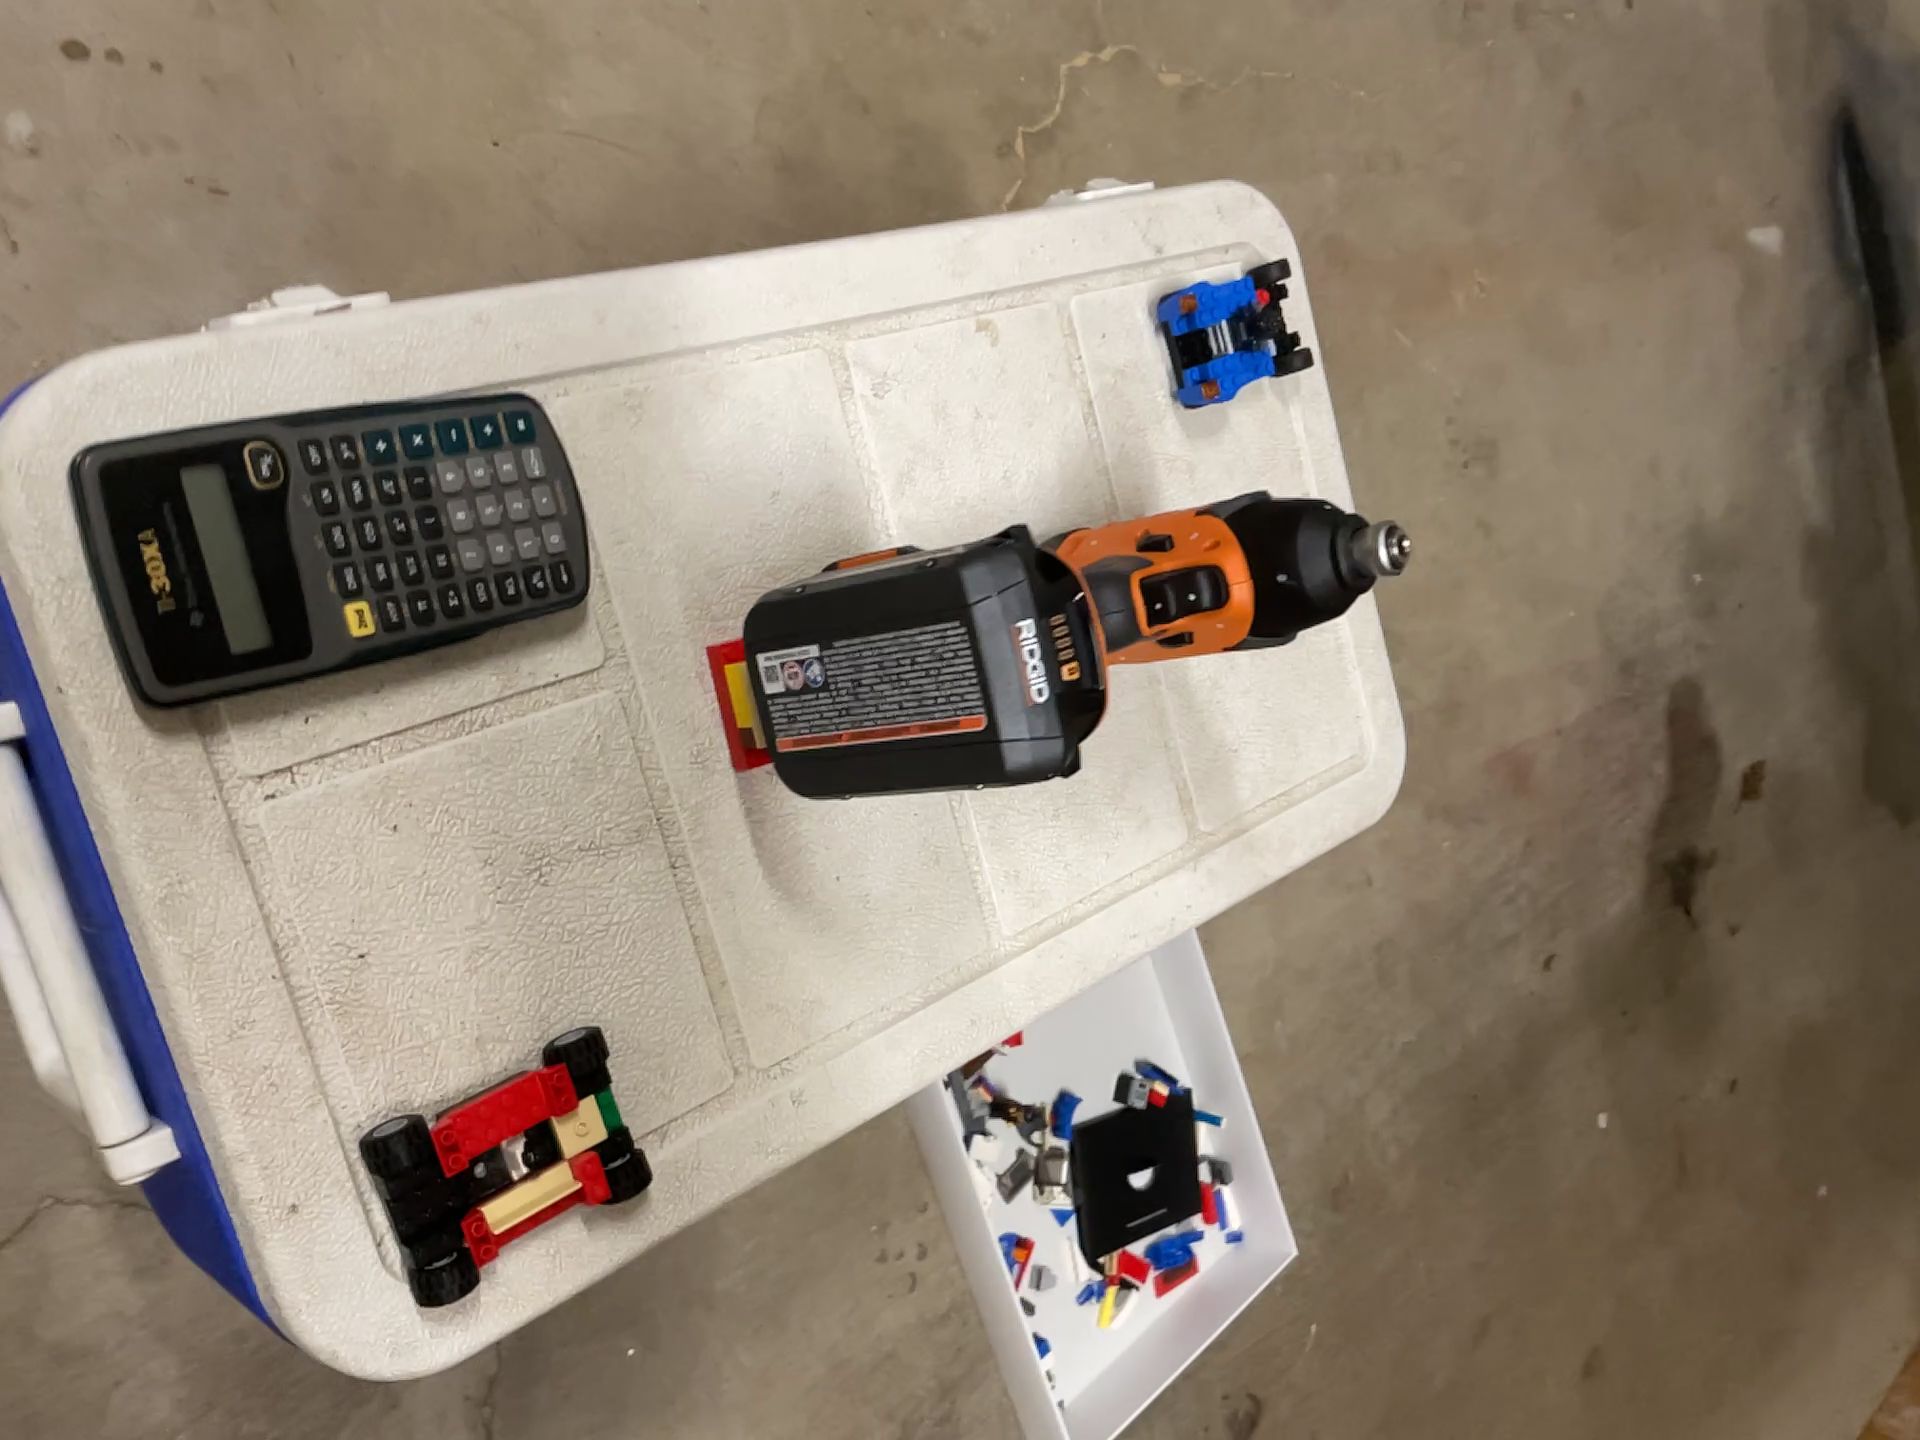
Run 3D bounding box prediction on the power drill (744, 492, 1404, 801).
[{"bbox_3d":[0.052,-0.039,0.591,0.227,0.164,0.084,-21,100,-49],"label":"power drill"}]
